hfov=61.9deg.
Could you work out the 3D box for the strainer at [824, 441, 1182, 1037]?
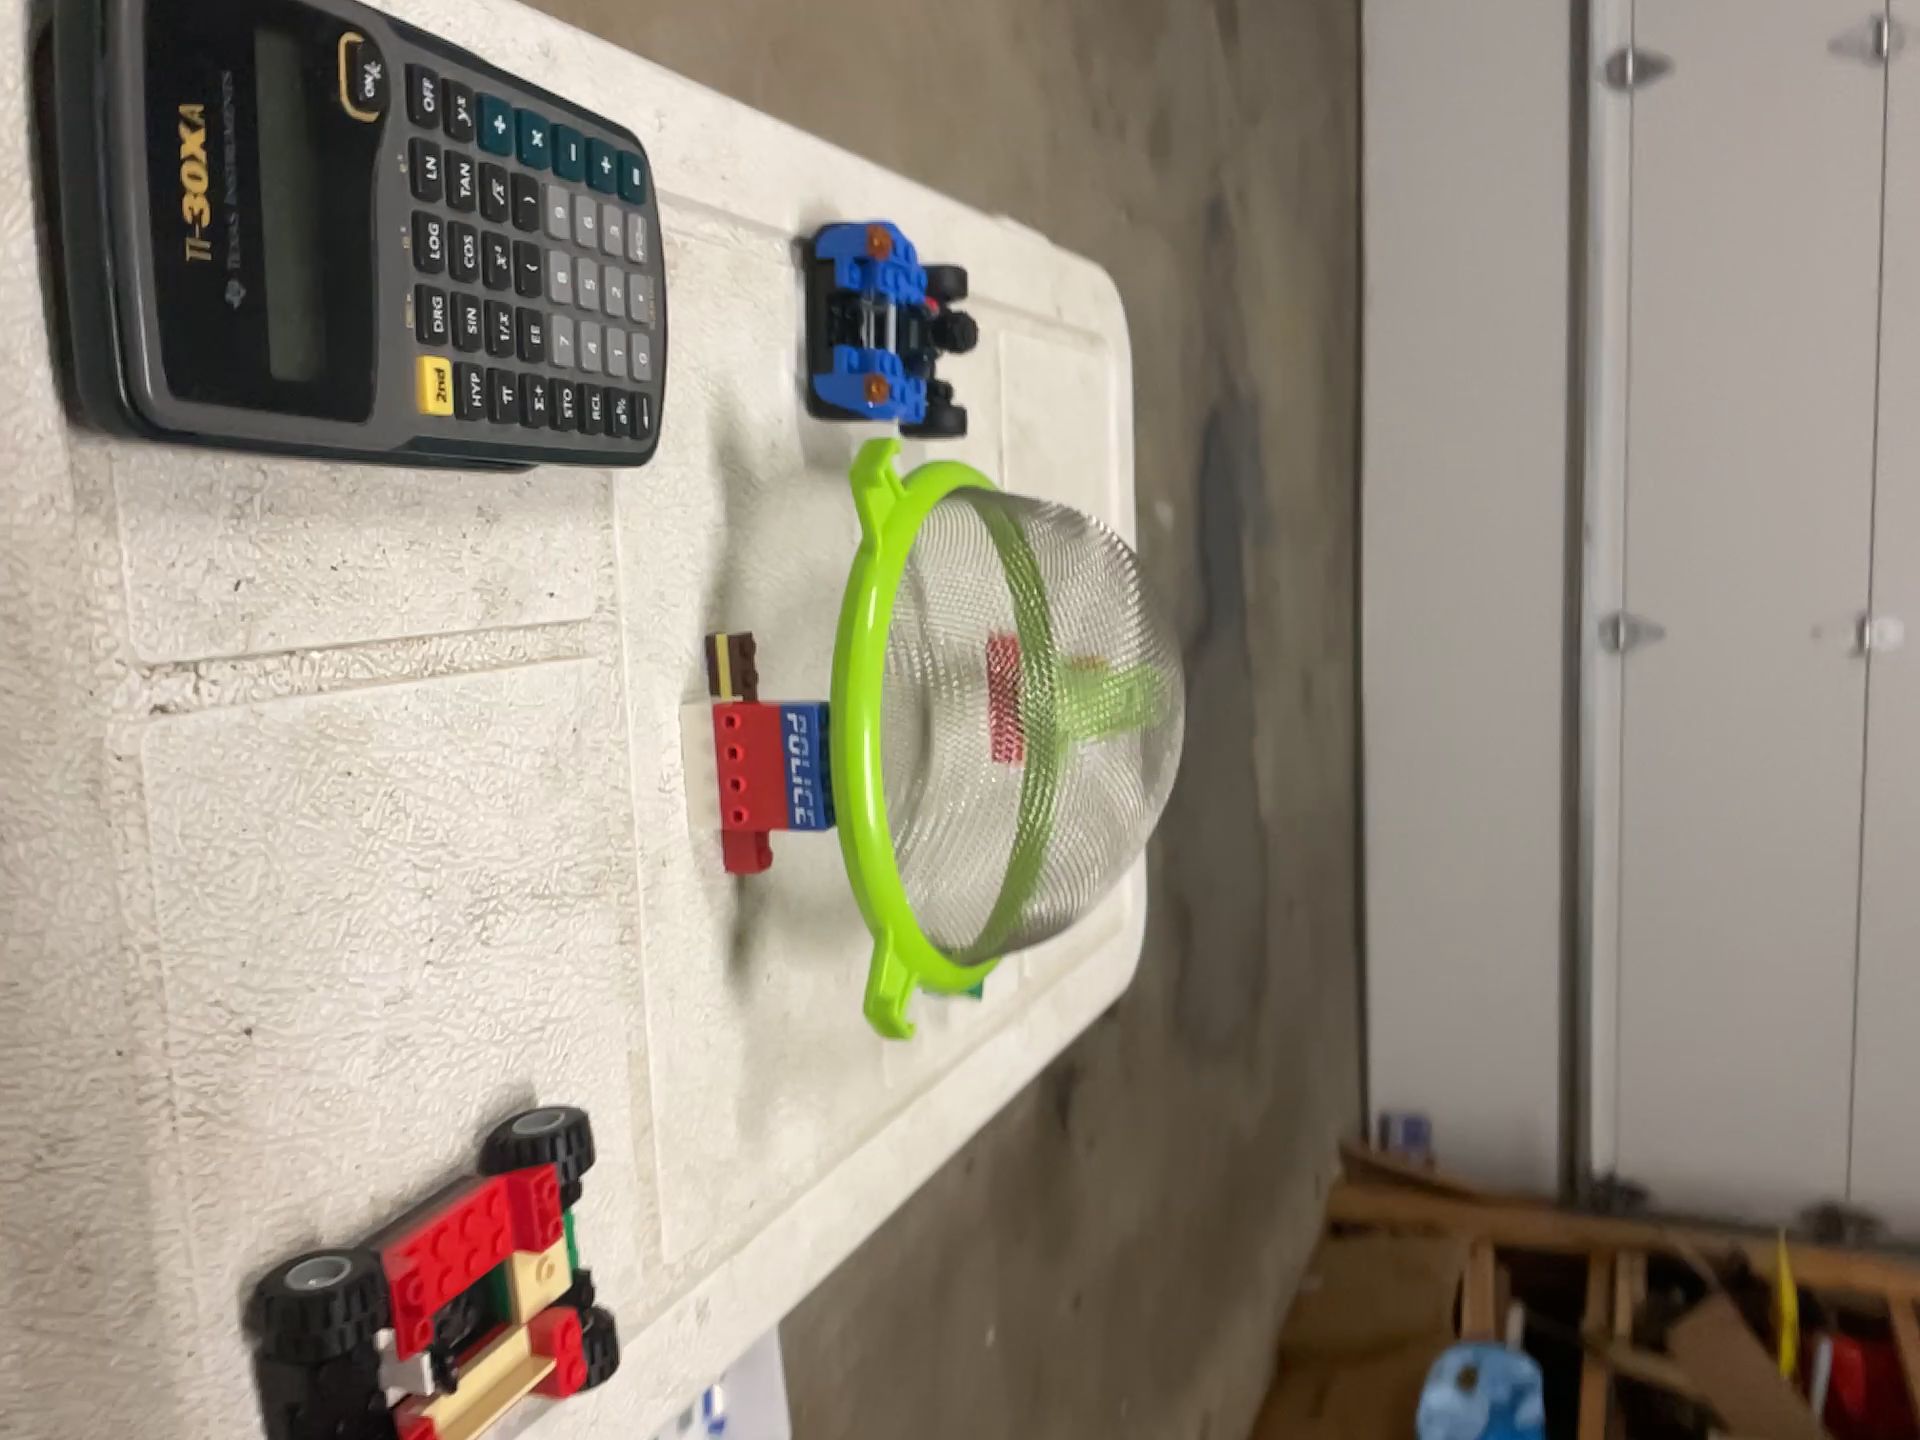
[{"bbox_3d":[0.045,-0.002,0.497,0.256,0.069,0.151,-9,97,-66],"label":"strainer"}]
